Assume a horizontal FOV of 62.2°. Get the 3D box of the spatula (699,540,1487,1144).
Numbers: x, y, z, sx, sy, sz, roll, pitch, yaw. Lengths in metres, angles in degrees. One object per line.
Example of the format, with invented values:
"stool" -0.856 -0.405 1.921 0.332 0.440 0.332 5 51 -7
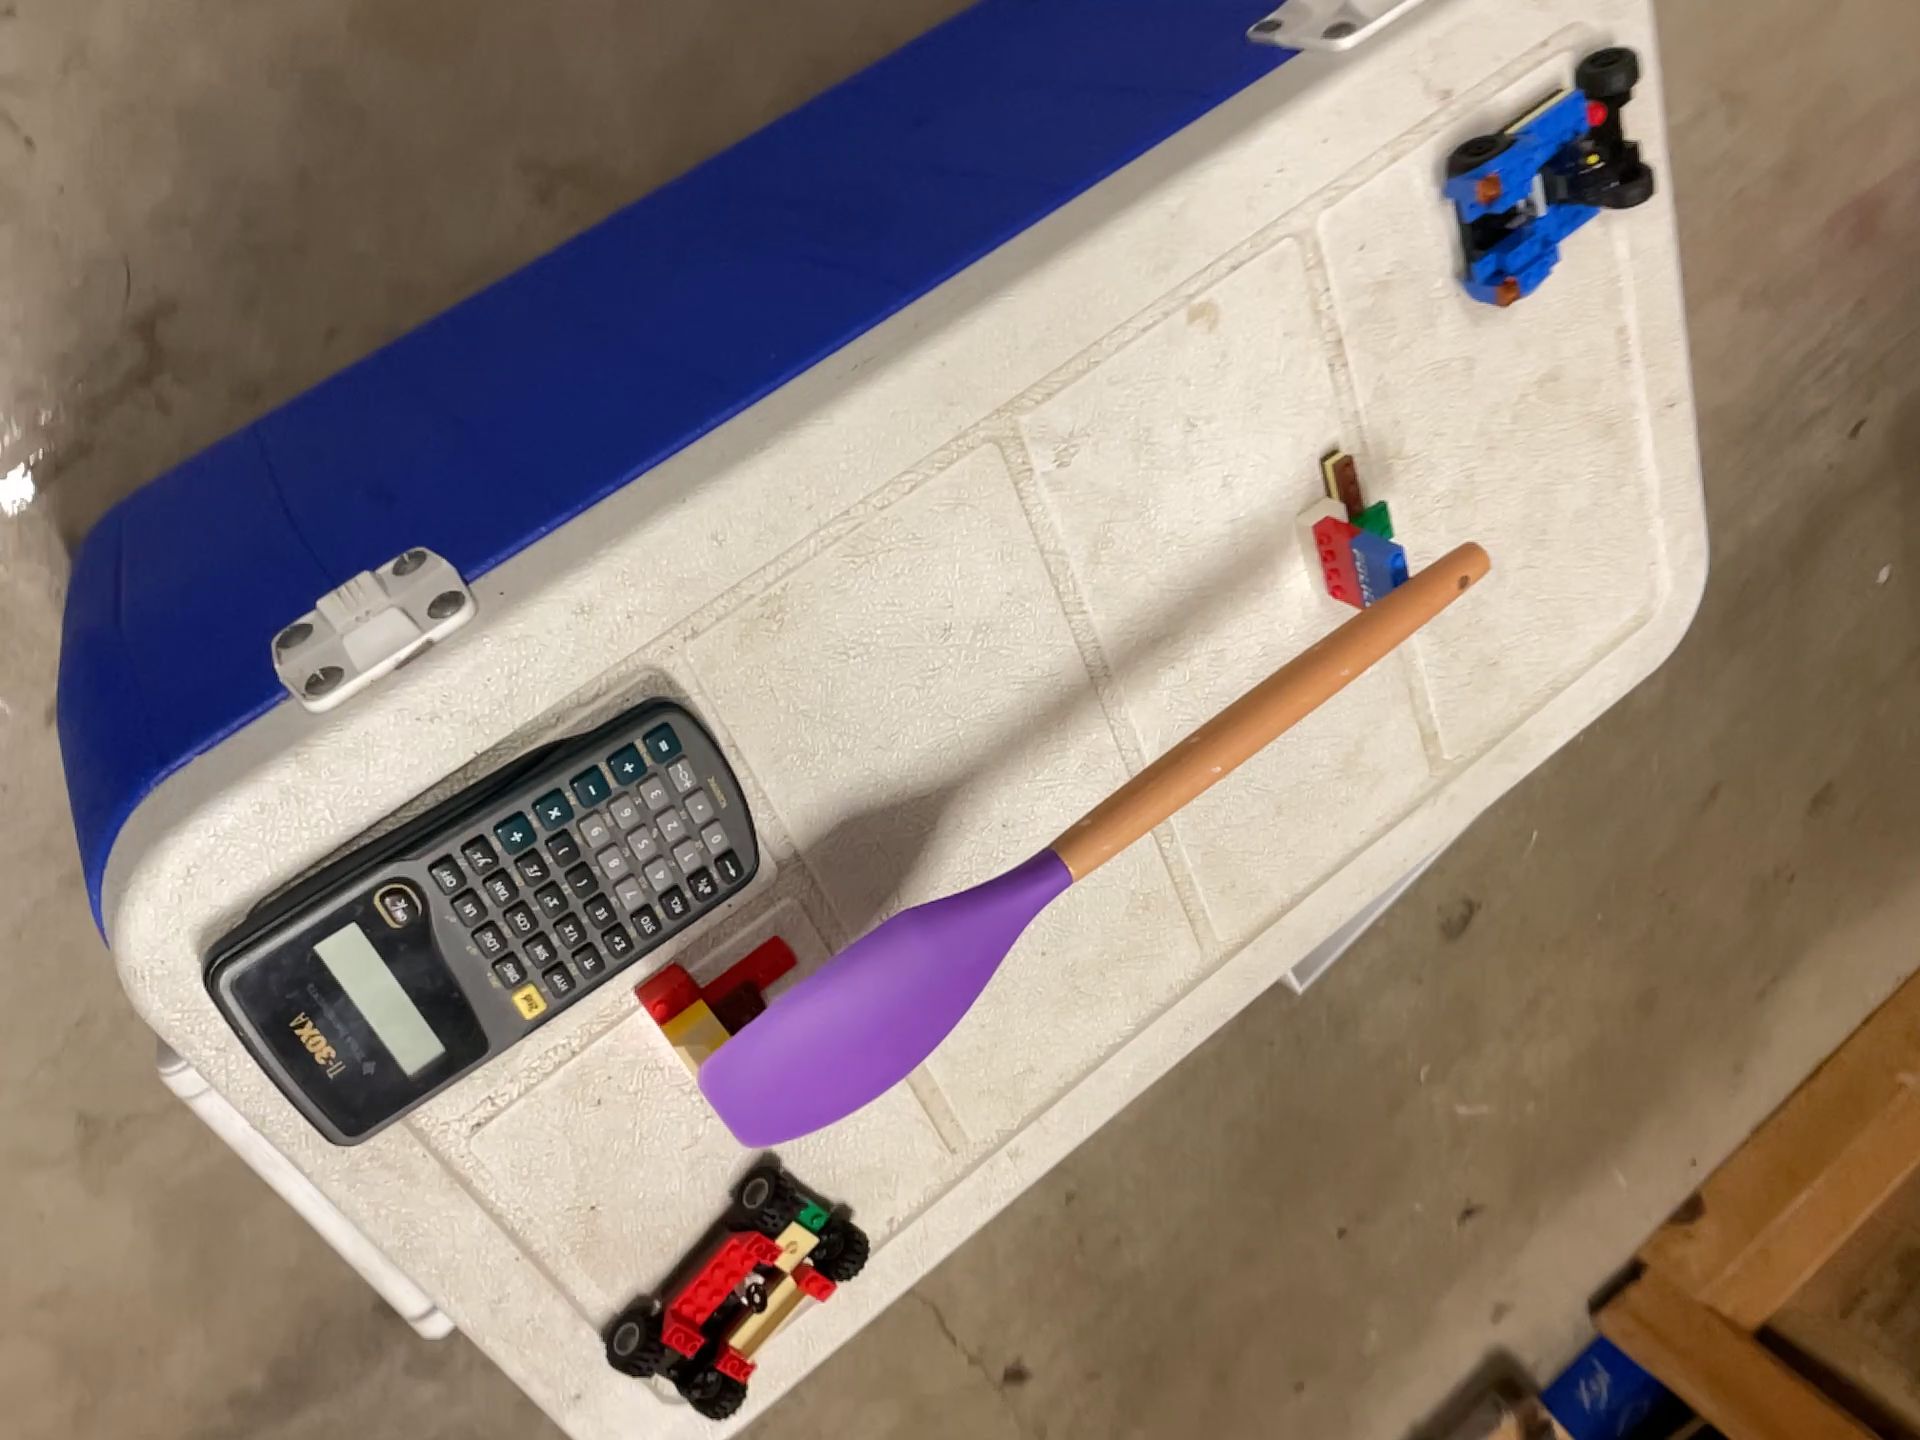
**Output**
"spatula" 0.054 0.033 0.523 0.316 0.018 0.059 -36 127 -12
